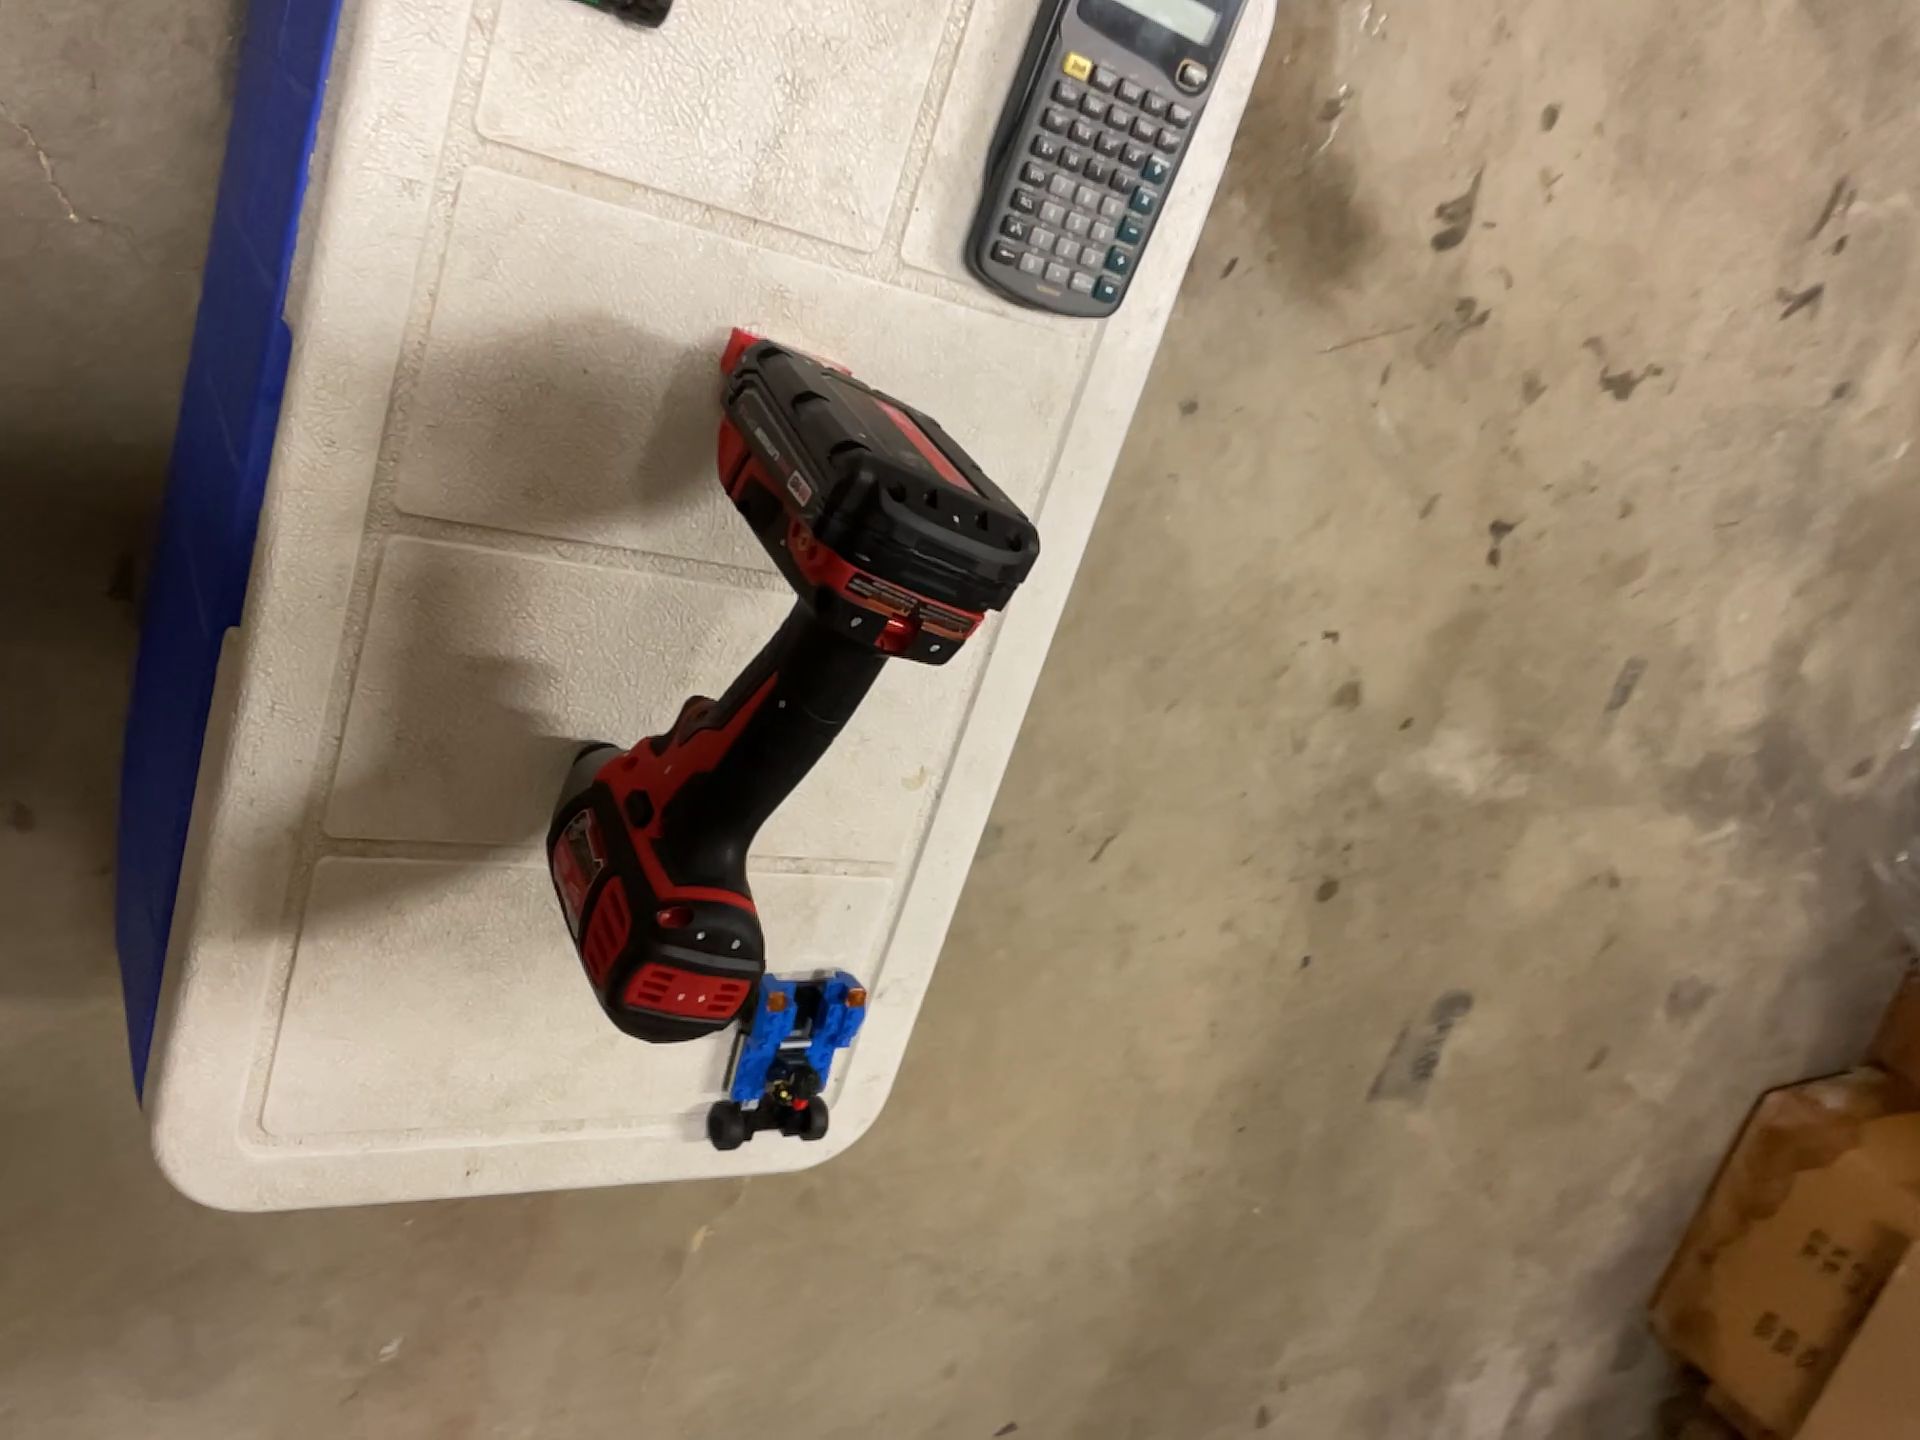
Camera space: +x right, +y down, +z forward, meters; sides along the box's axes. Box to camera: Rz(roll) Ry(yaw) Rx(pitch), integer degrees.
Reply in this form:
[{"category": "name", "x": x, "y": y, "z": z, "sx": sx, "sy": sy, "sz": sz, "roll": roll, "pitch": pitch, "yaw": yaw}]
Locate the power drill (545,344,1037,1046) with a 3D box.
[{"category": "power drill", "x": -0.078, "y": -0.010, "z": 0.564, "sx": 0.078, "sy": 0.143, "sz": 0.219, "roll": 19, "pitch": 112, "yaw": -36}]
